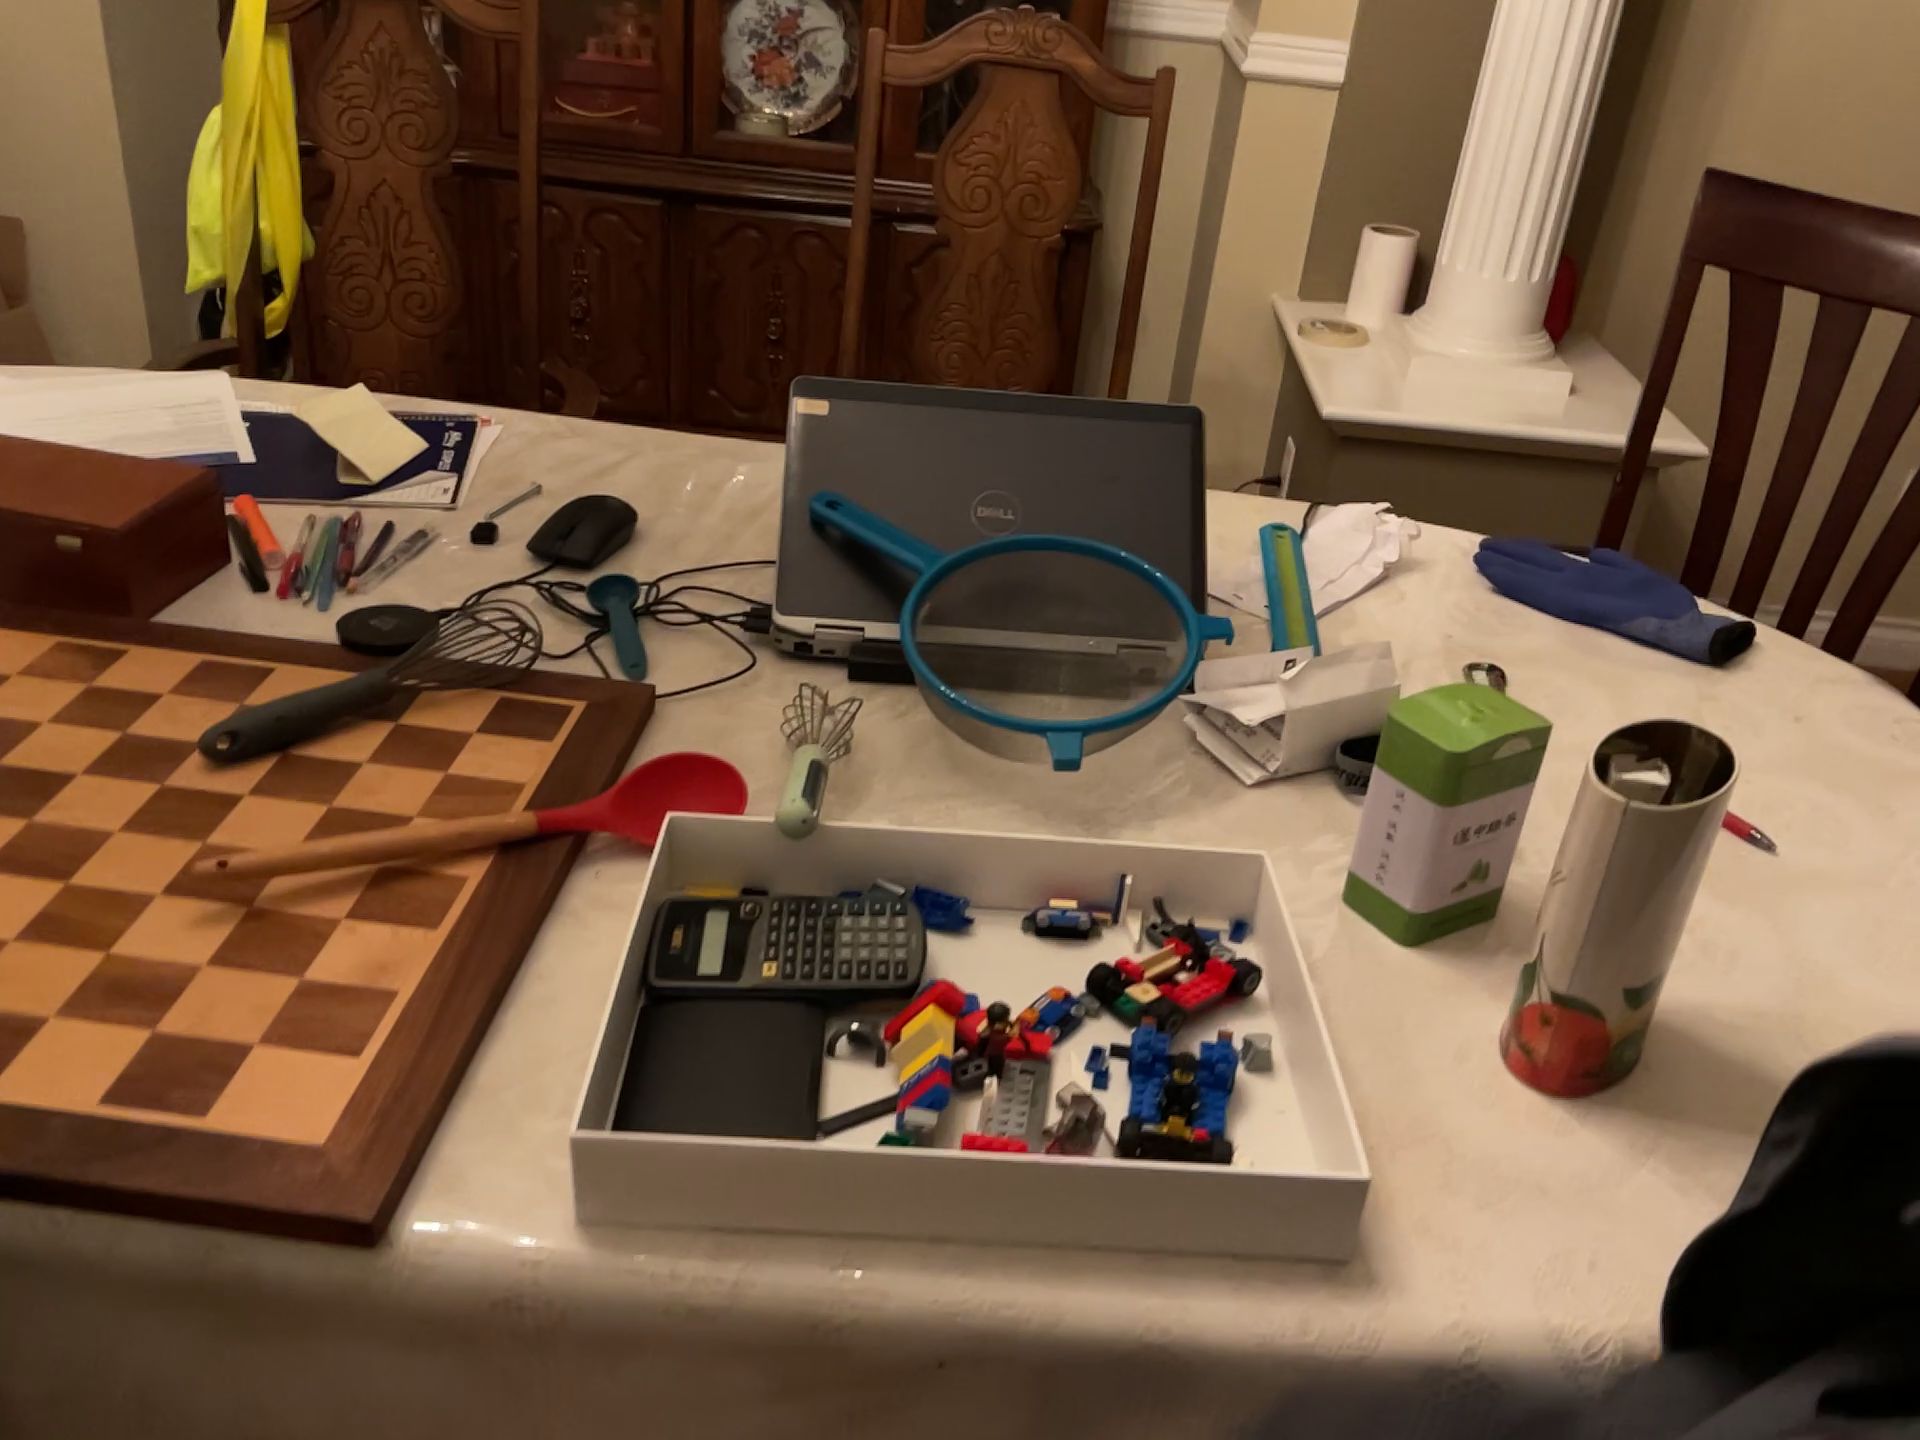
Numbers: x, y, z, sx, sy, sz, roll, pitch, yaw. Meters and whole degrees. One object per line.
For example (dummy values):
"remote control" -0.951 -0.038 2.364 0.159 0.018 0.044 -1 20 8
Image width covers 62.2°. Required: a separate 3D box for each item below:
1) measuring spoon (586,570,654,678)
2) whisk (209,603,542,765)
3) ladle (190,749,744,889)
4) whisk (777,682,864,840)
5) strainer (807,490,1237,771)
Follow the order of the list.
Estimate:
"measuring spoon" -0.252 -0.068 1.204 0.042 0.021 0.129 -13 46 -17
"whisk" -0.376 -0.022 1.045 0.055 0.055 0.238 14 32 42
"ladle" -0.273 0.064 0.921 0.315 0.031 0.069 -8 54 -32
"whisk" -0.091 0.024 0.998 0.059 0.057 0.246 -24 15 6
"strainer" 0.014 -0.064 1.156 0.341 0.095 0.211 31 51 29
